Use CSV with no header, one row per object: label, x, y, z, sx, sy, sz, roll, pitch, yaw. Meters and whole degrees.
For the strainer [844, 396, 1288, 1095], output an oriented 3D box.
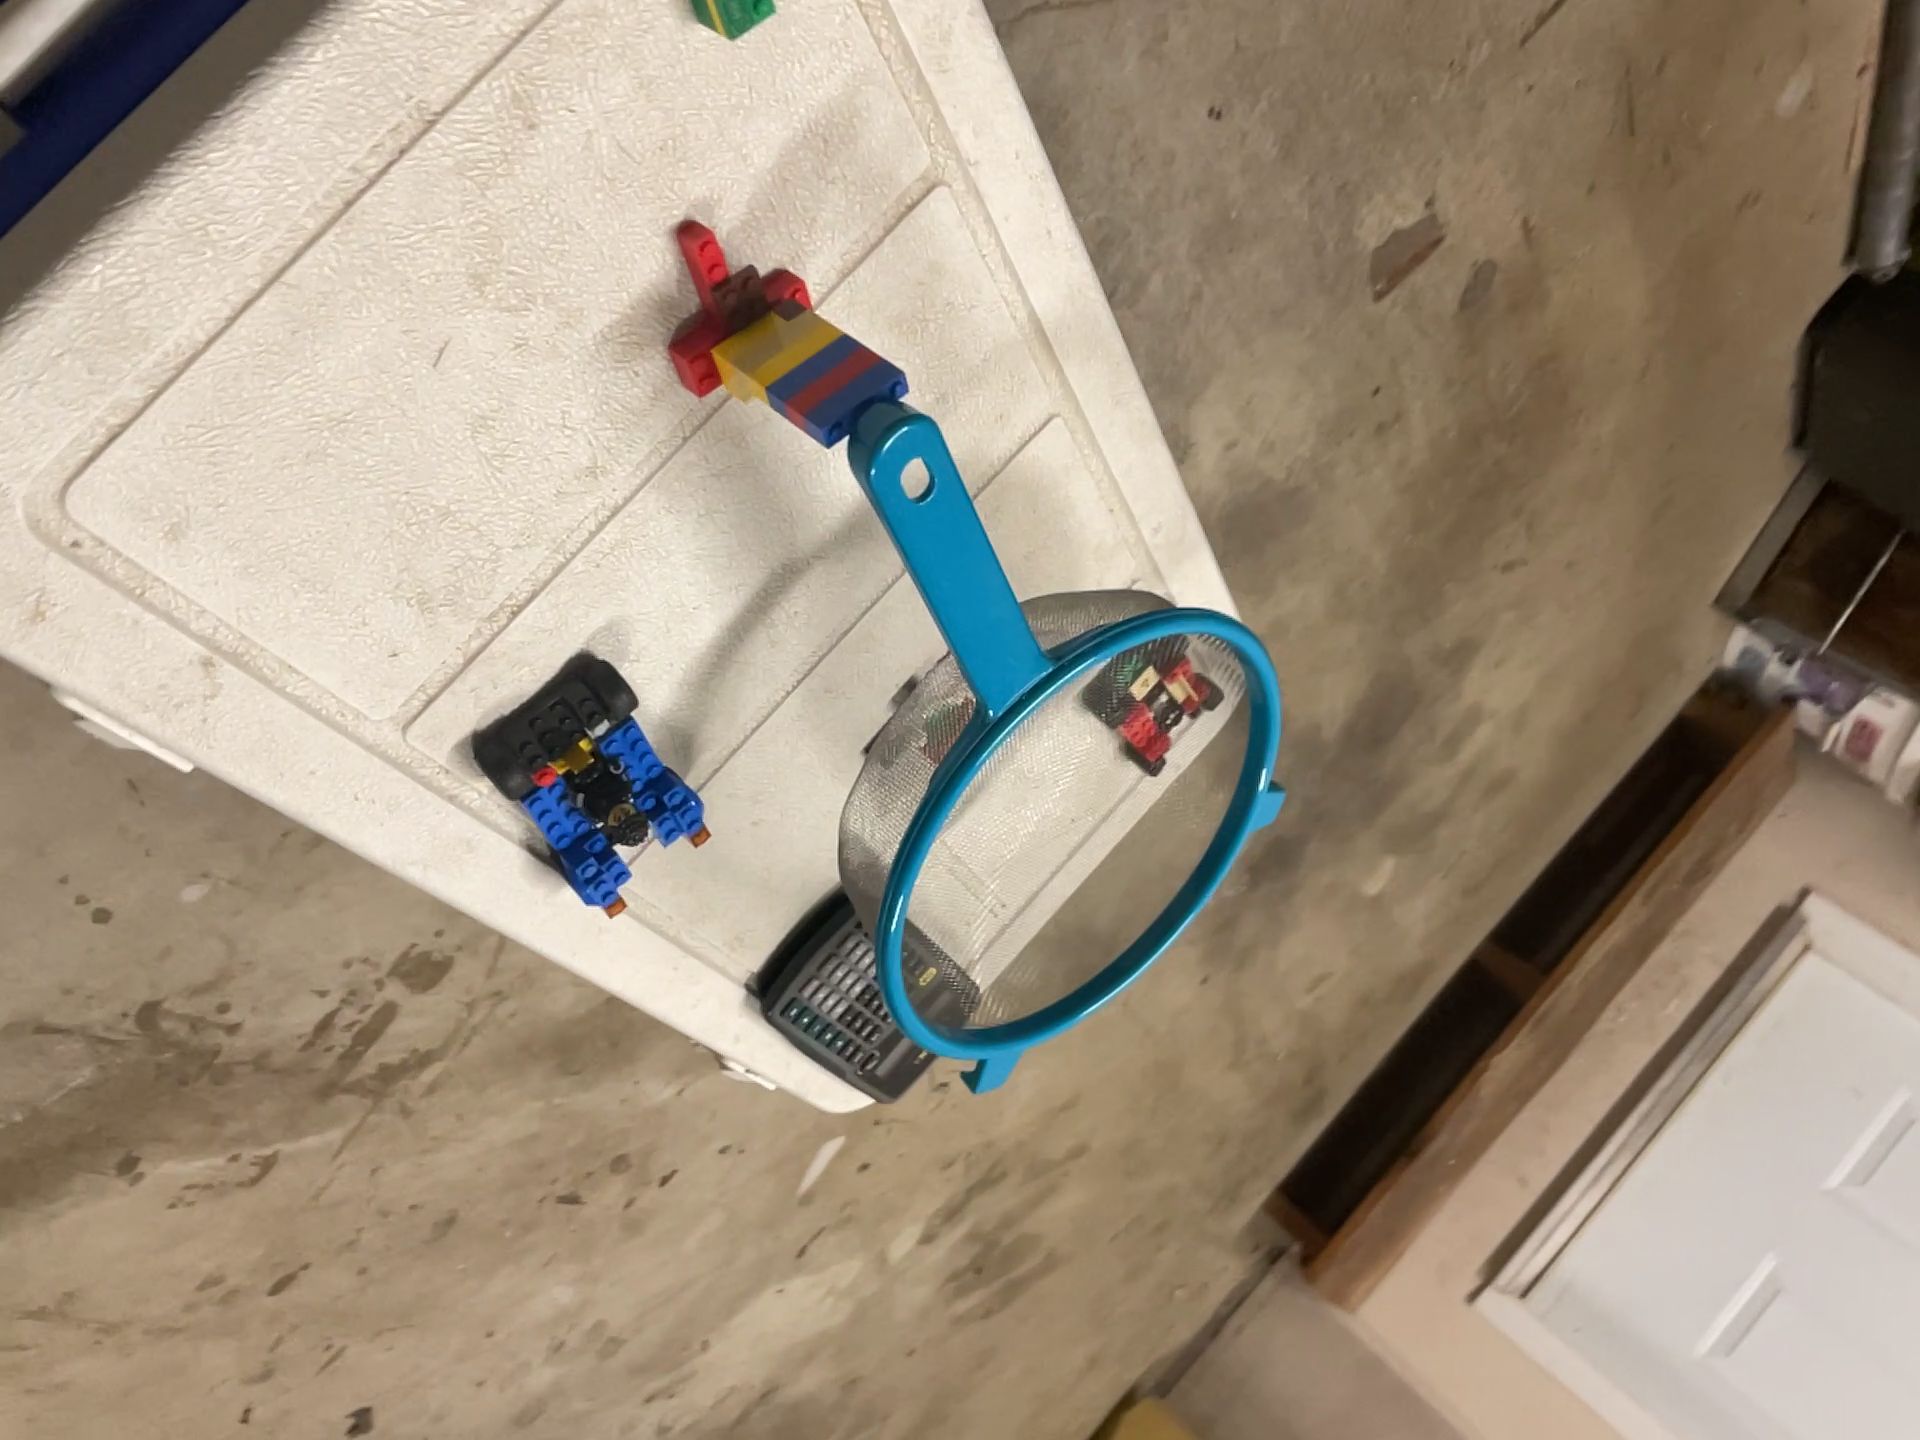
strainer,0.008,-0.008,0.611,0.211,0.095,0.339,-42,140,-11
